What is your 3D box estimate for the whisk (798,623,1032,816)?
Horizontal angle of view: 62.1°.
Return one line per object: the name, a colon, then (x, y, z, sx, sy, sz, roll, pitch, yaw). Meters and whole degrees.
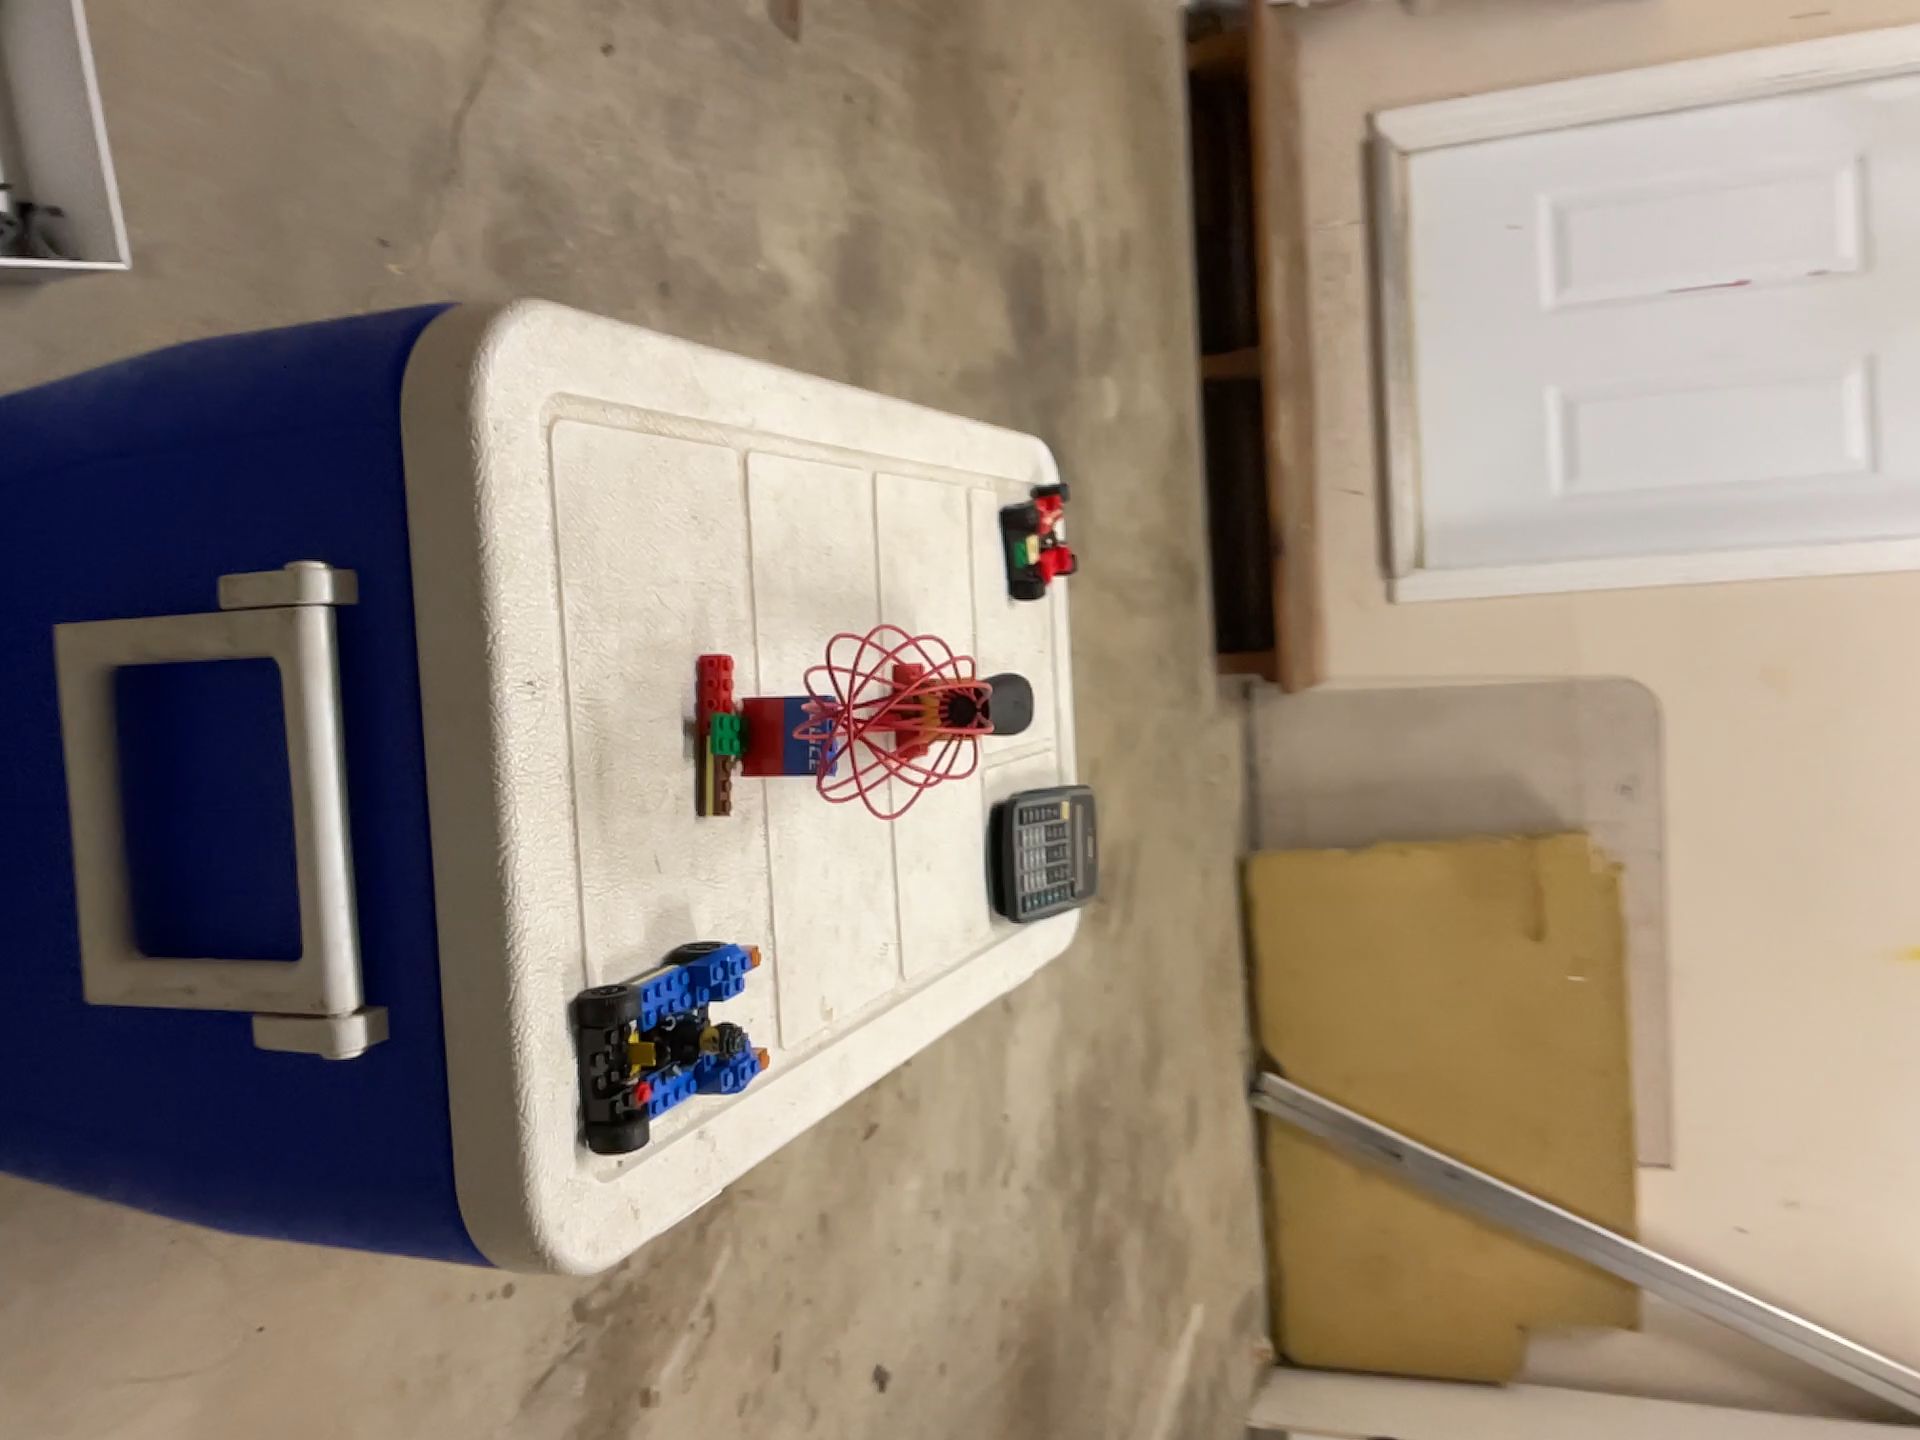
whisk: (-0.003, -0.004, 0.683, 0.296, 0.073, 0.073, -9, 93, -77)
